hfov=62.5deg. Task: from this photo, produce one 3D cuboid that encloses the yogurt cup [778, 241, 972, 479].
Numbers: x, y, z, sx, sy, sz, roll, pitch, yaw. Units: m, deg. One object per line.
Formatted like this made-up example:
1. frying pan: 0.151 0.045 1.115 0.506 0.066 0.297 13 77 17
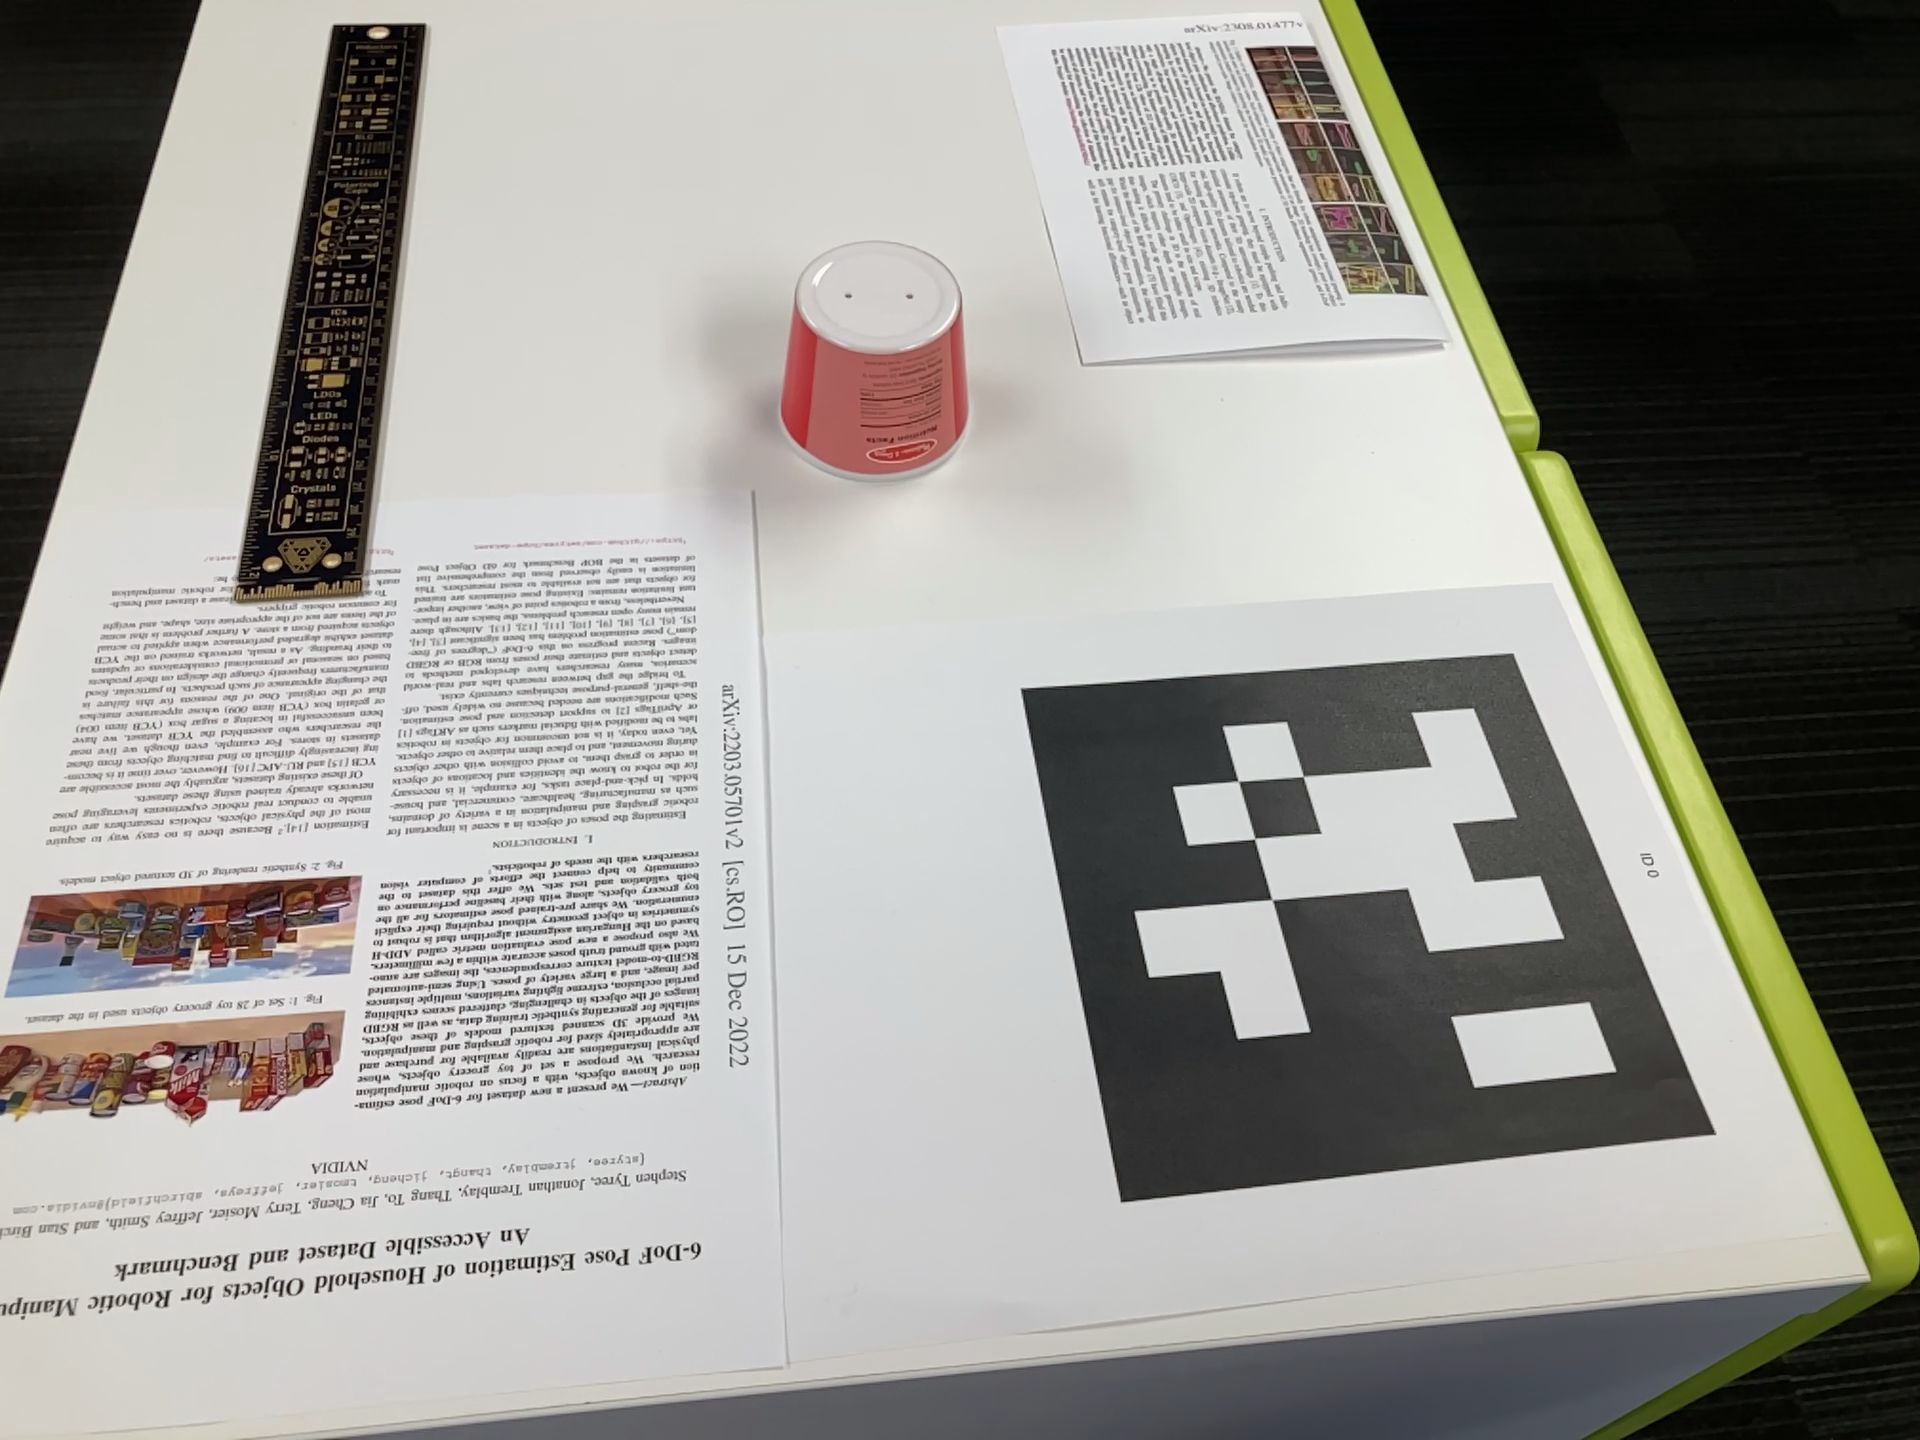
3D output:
1. yogurt cup: -0.028 -0.125 0.539 0.072 0.054 0.072 3 55 -4
